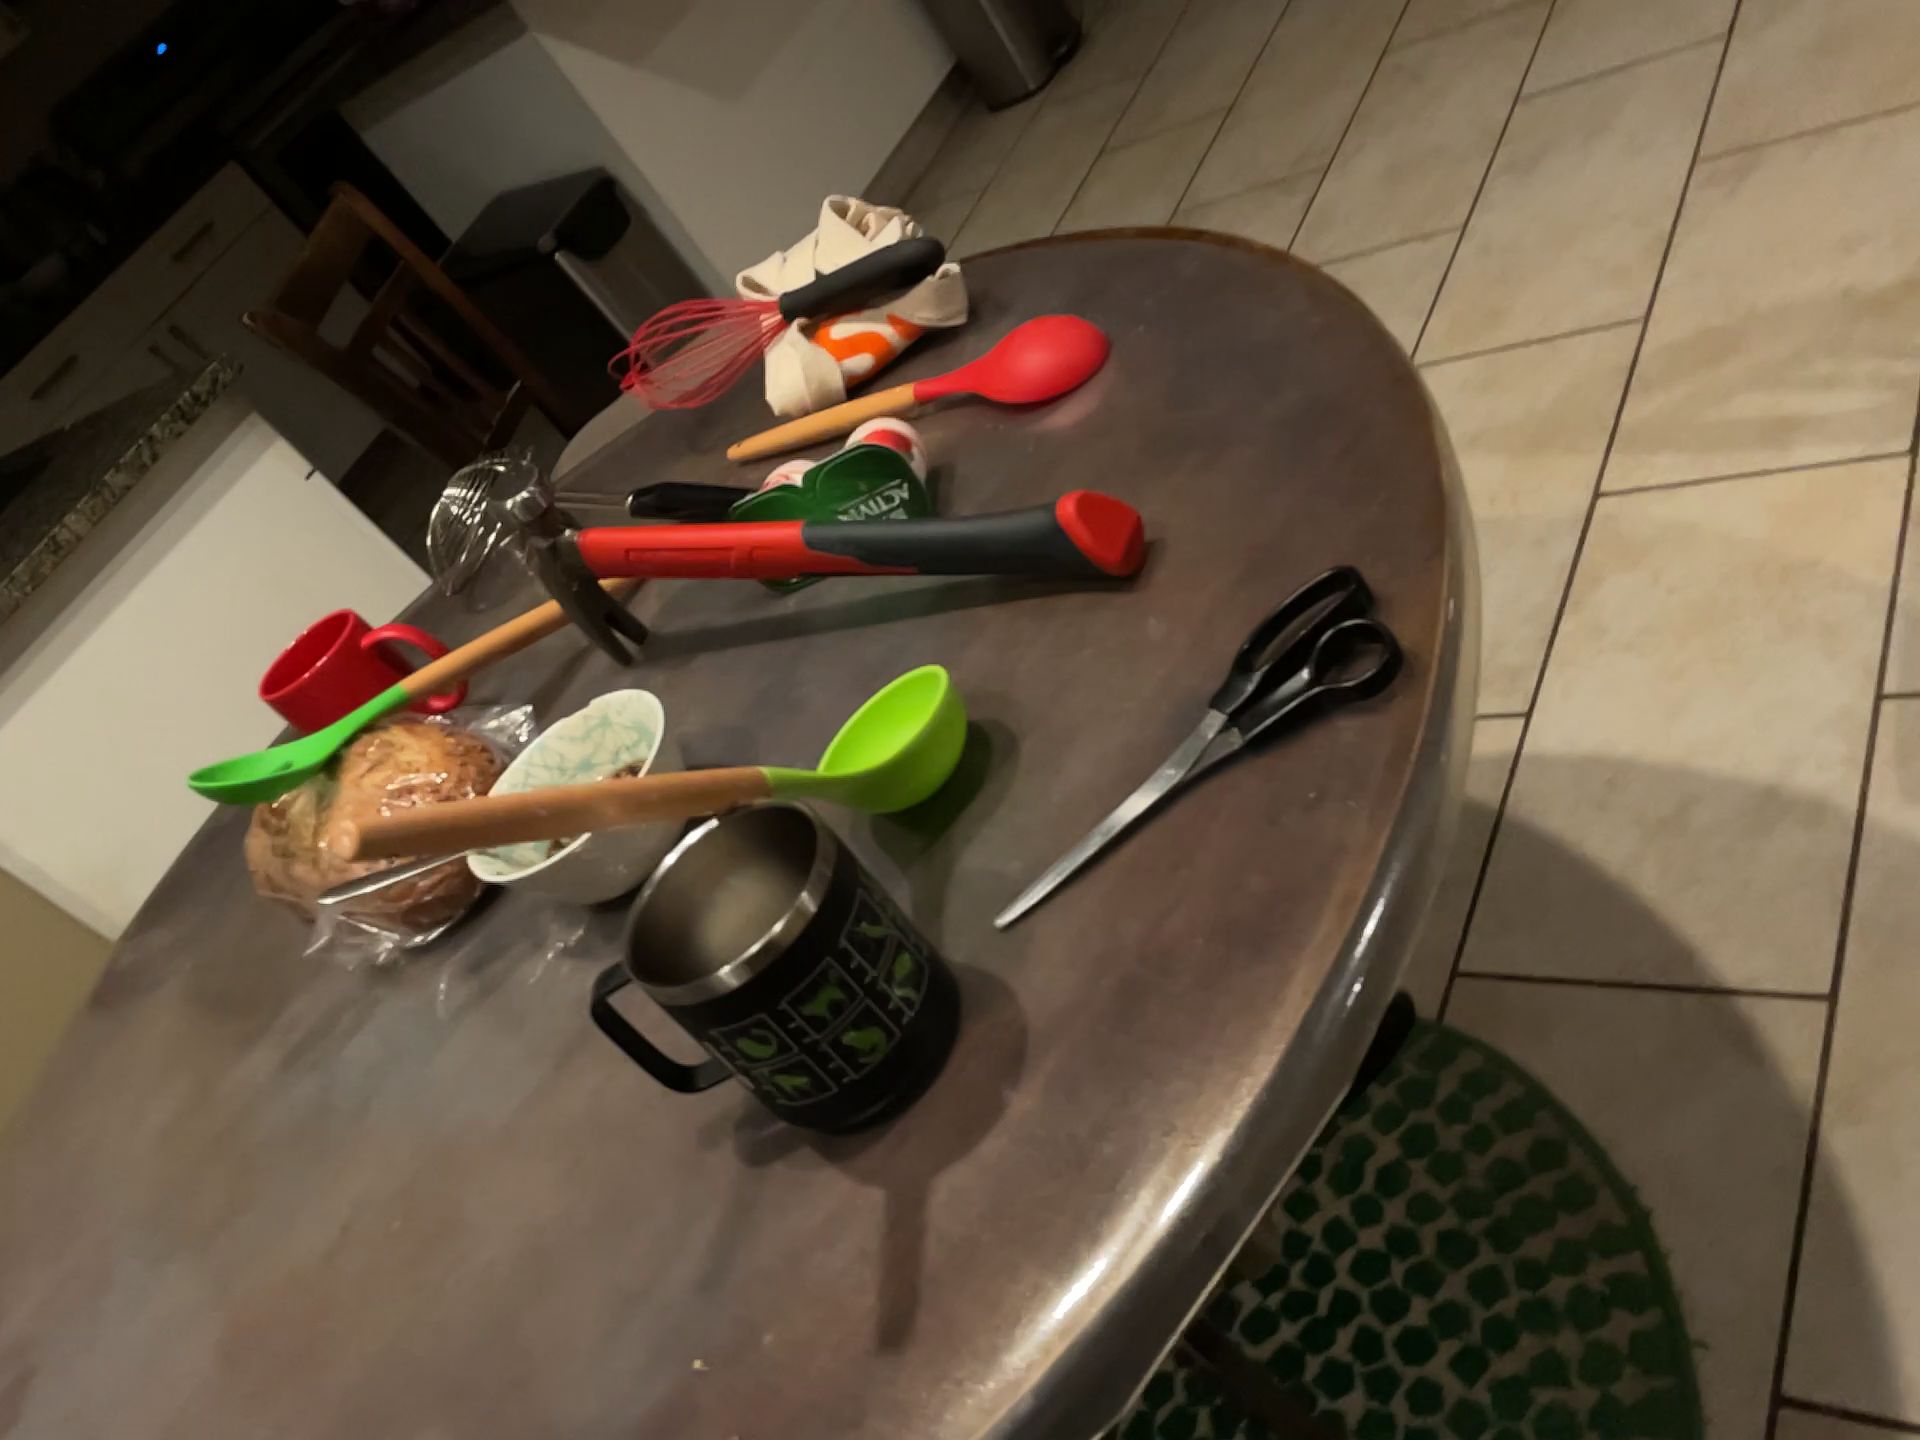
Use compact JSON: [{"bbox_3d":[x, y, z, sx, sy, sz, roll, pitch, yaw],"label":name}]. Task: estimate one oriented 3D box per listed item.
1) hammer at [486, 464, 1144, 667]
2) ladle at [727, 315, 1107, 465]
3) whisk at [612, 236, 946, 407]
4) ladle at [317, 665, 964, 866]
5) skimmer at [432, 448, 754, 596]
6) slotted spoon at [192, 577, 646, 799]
[{"bbox_3d":[-0.078,-0.080,0.850,0.387,0.143,0.038,3,52,32],"label":"hammer"},{"bbox_3d":[-0.042,-0.201,1.002,0.316,0.031,0.069,-8,44,42],"label":"ladle"},{"bbox_3d":[-0.130,-0.275,1.084,0.296,0.073,0.073,-11,41,36],"label":"whisk"},{"bbox_3d":[-0.102,0.017,0.602,0.078,0.320,0.062,-32,76,32],"label":"ladle"},{"bbox_3d":[-0.252,-0.138,1.130,0.364,0.090,0.127,8,63,36],"label":"skimmer"},{"bbox_3d":[-0.314,-0.029,0.970,0.070,0.031,0.313,8,33,44],"label":"slotted spoon"}]
